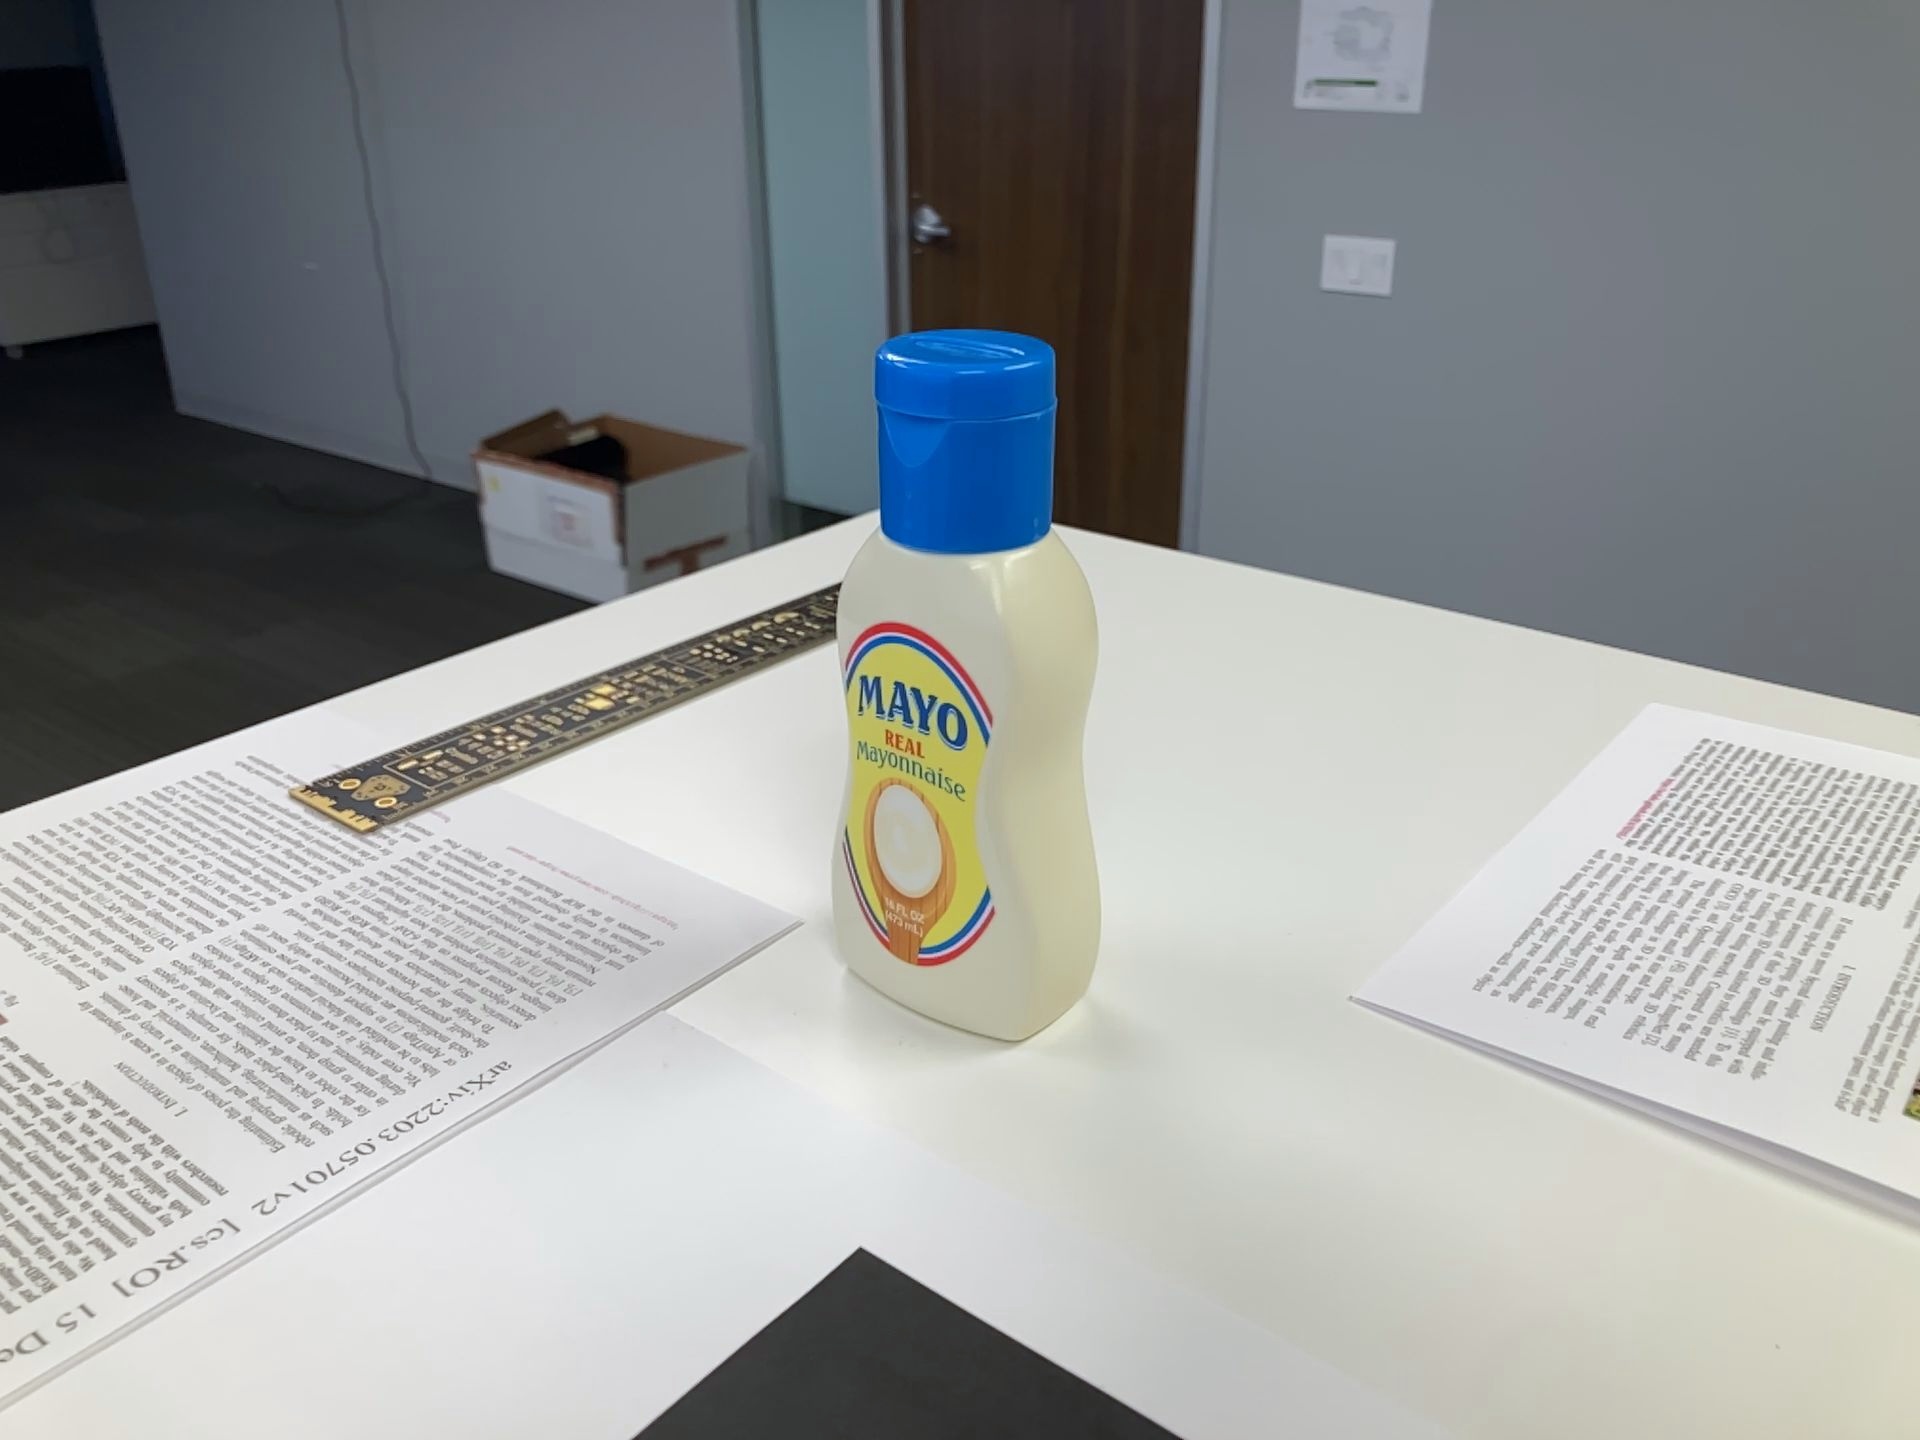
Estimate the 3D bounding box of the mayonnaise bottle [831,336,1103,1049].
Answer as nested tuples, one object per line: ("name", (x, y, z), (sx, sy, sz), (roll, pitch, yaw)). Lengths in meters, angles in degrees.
("mayonnaise bottle", (0.001, -0.005, 0.342), (0.065, 0.148, 0.041), (18, 30, 35))
